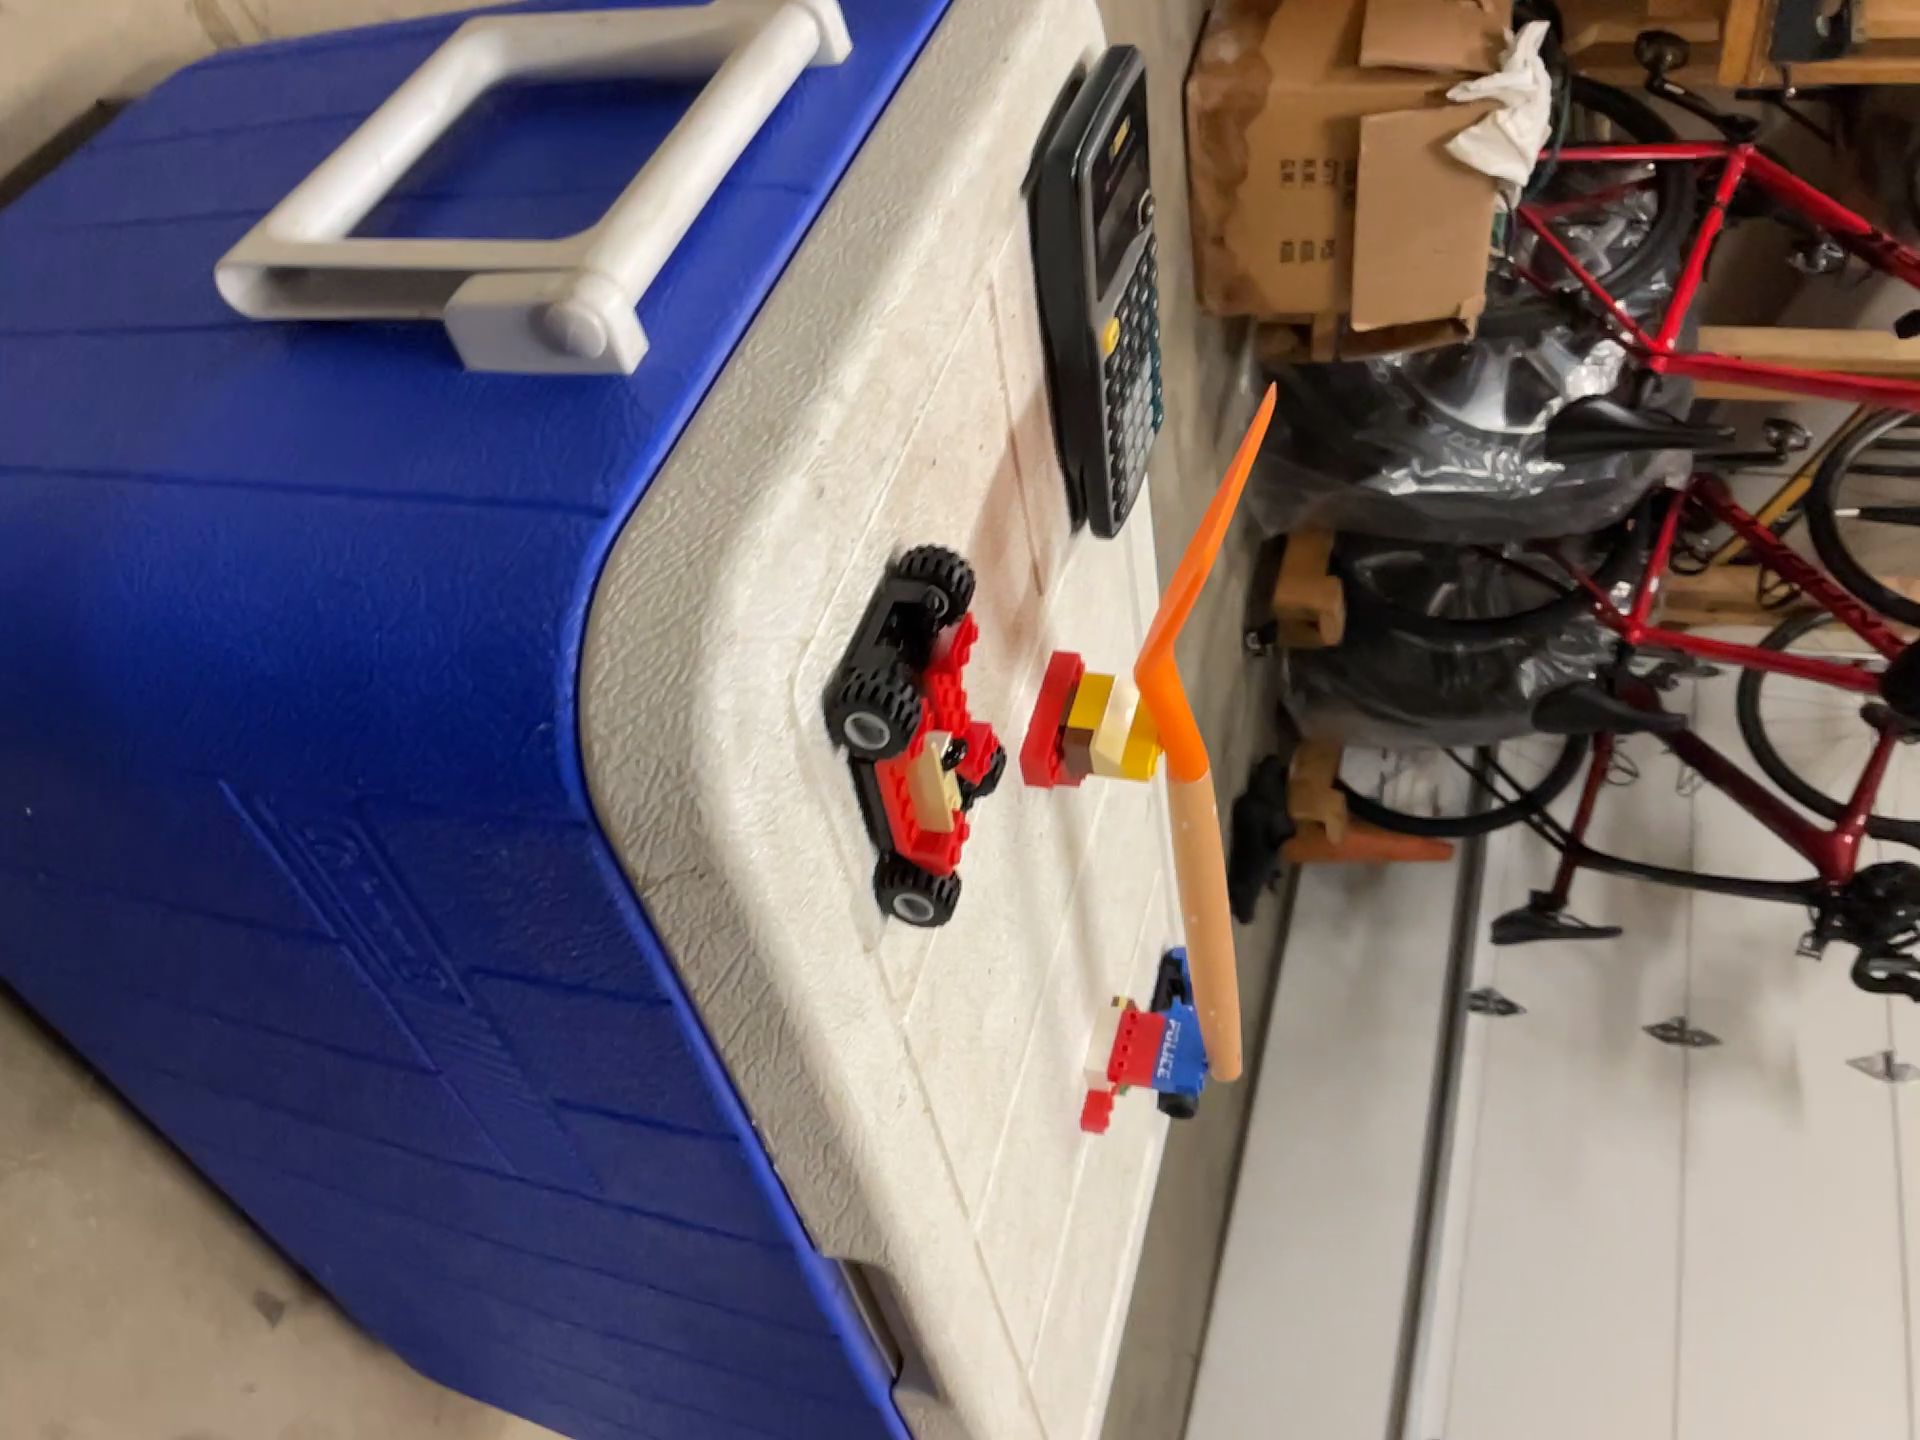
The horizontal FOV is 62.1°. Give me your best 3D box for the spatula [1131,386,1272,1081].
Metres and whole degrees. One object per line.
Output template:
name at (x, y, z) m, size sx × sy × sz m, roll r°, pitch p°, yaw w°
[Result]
spatula at (0.090, 0.035, 0.560) m, size 0.322 × 0.041 × 0.081 m, roll 76°, pitch 30°, yaw -43°
